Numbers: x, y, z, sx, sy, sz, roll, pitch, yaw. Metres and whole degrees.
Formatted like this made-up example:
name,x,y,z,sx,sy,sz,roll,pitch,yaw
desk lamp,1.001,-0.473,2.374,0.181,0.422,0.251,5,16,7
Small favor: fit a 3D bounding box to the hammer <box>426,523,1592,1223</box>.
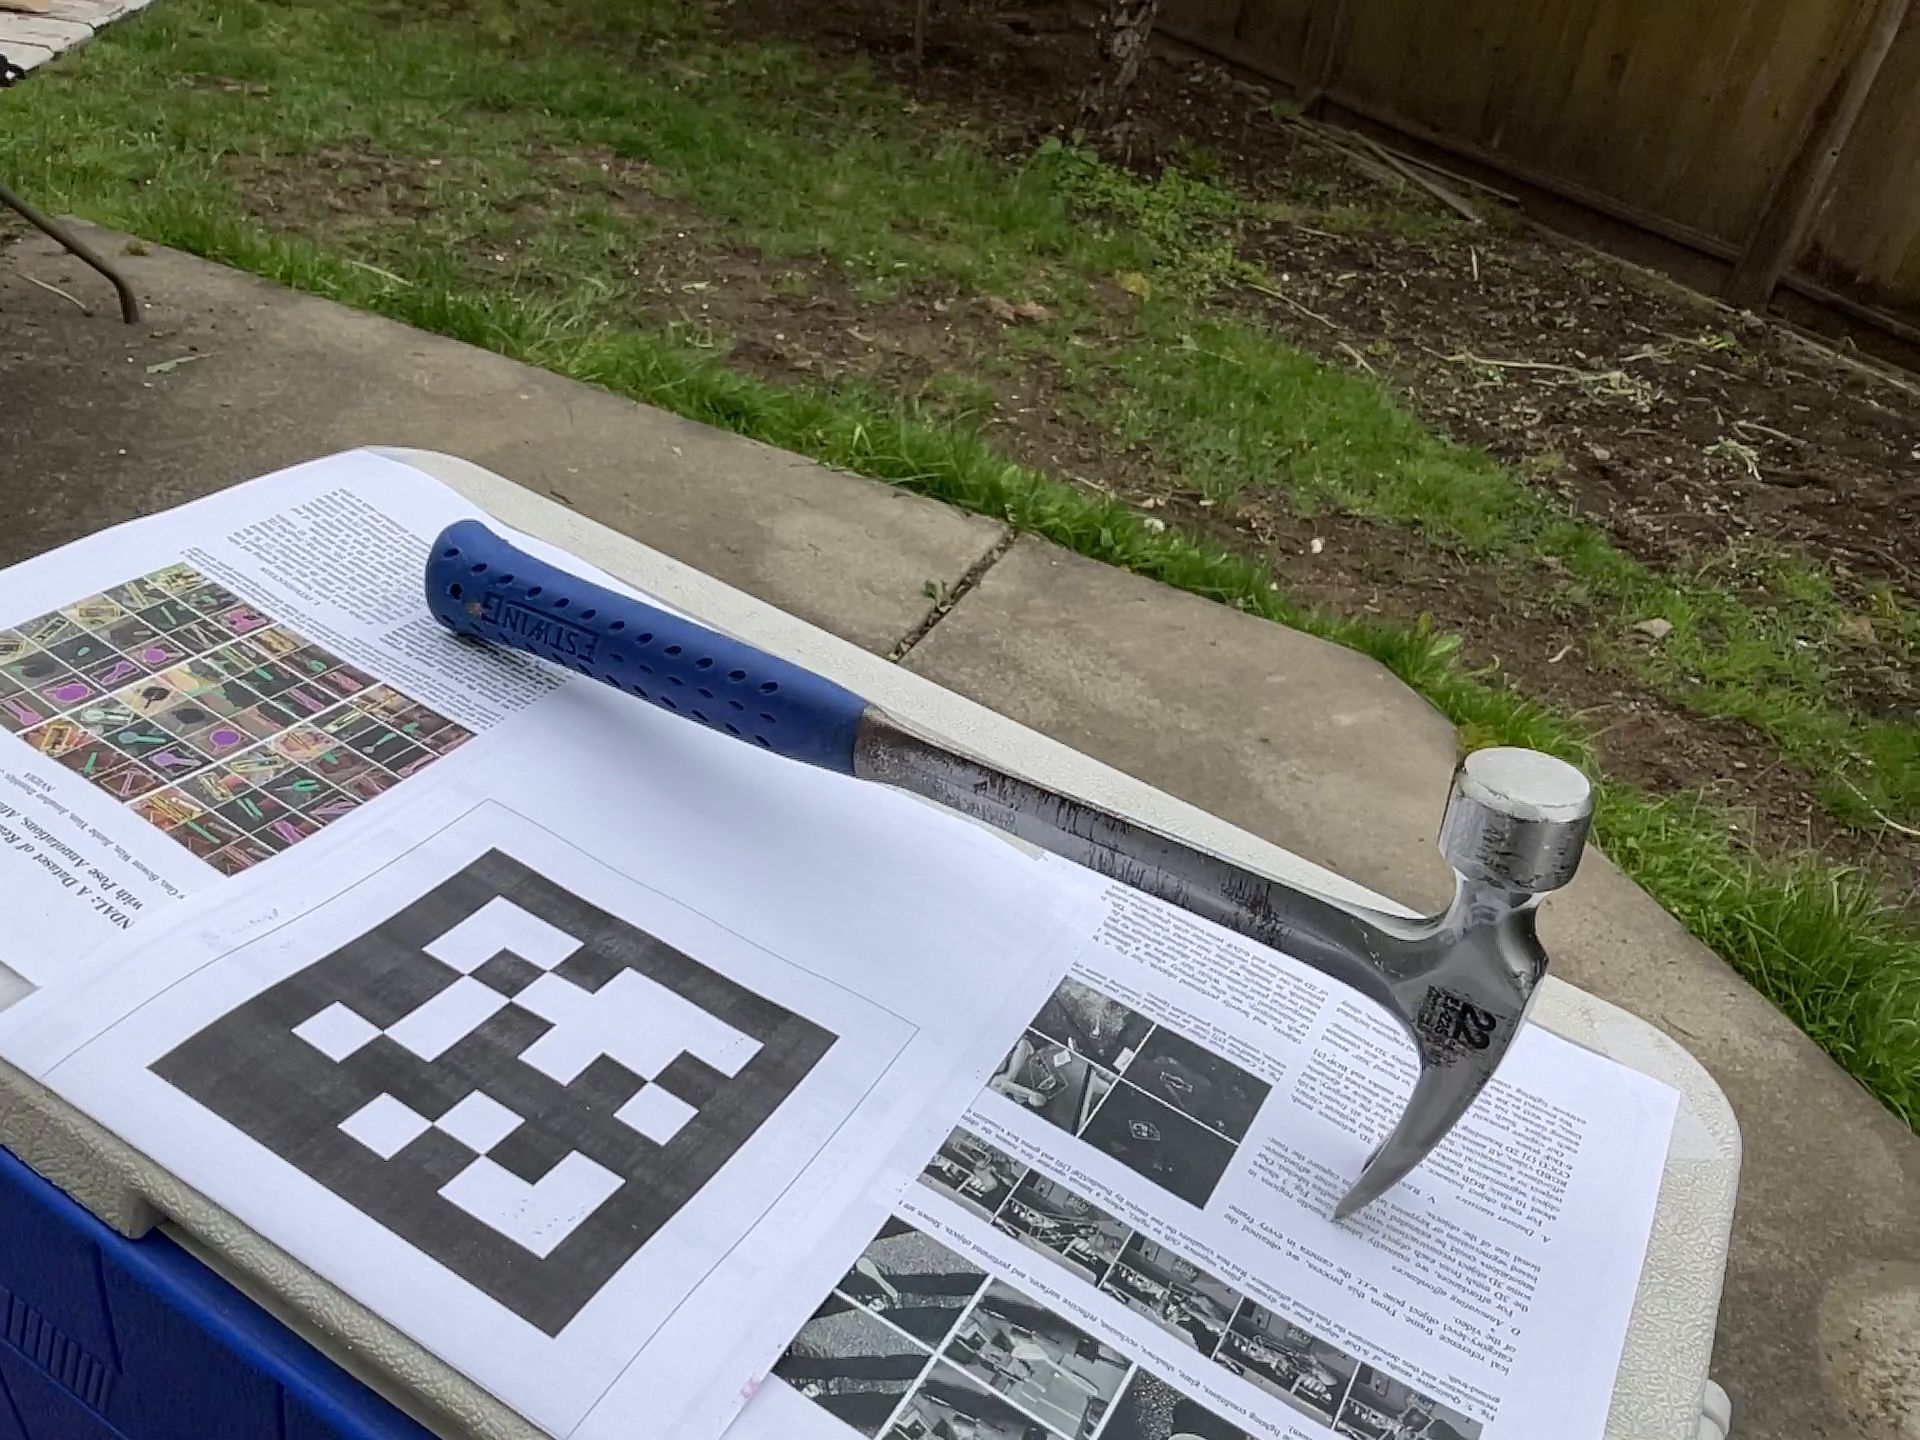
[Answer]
name,x,y,z,sx,sy,sz,roll,pitch,yaw
hammer,-0.022,0.017,0.509,0.405,0.144,0.035,21,31,28
